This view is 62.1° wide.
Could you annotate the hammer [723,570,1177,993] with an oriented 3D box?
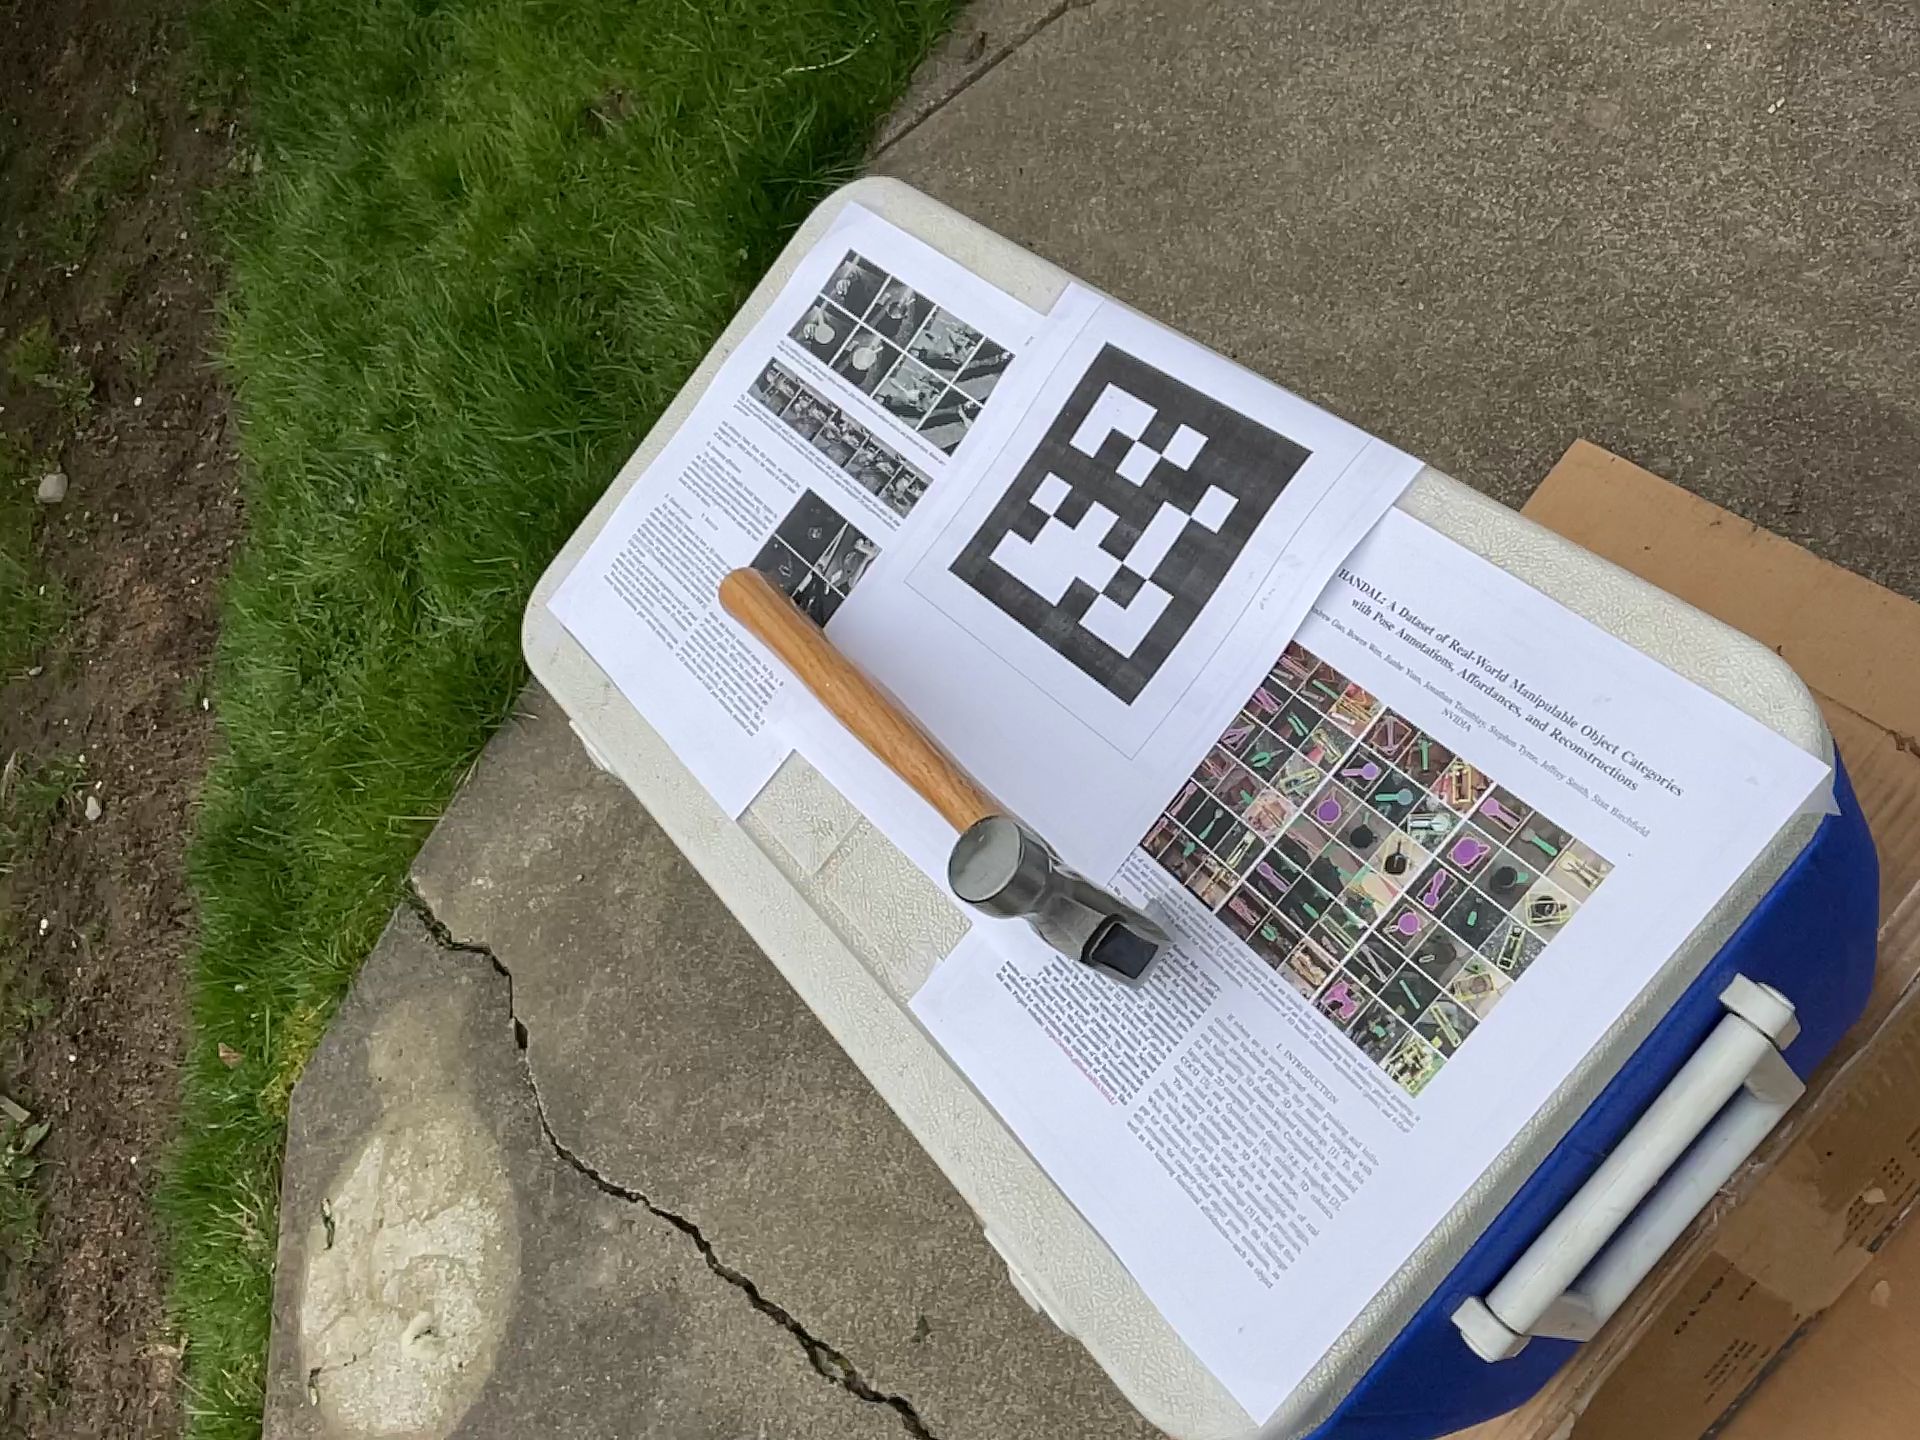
[{"bbox_3d":[-0.022,0.010,0.669,0.031,0.129,0.332,-52,40,3],"label":"hammer"}]
